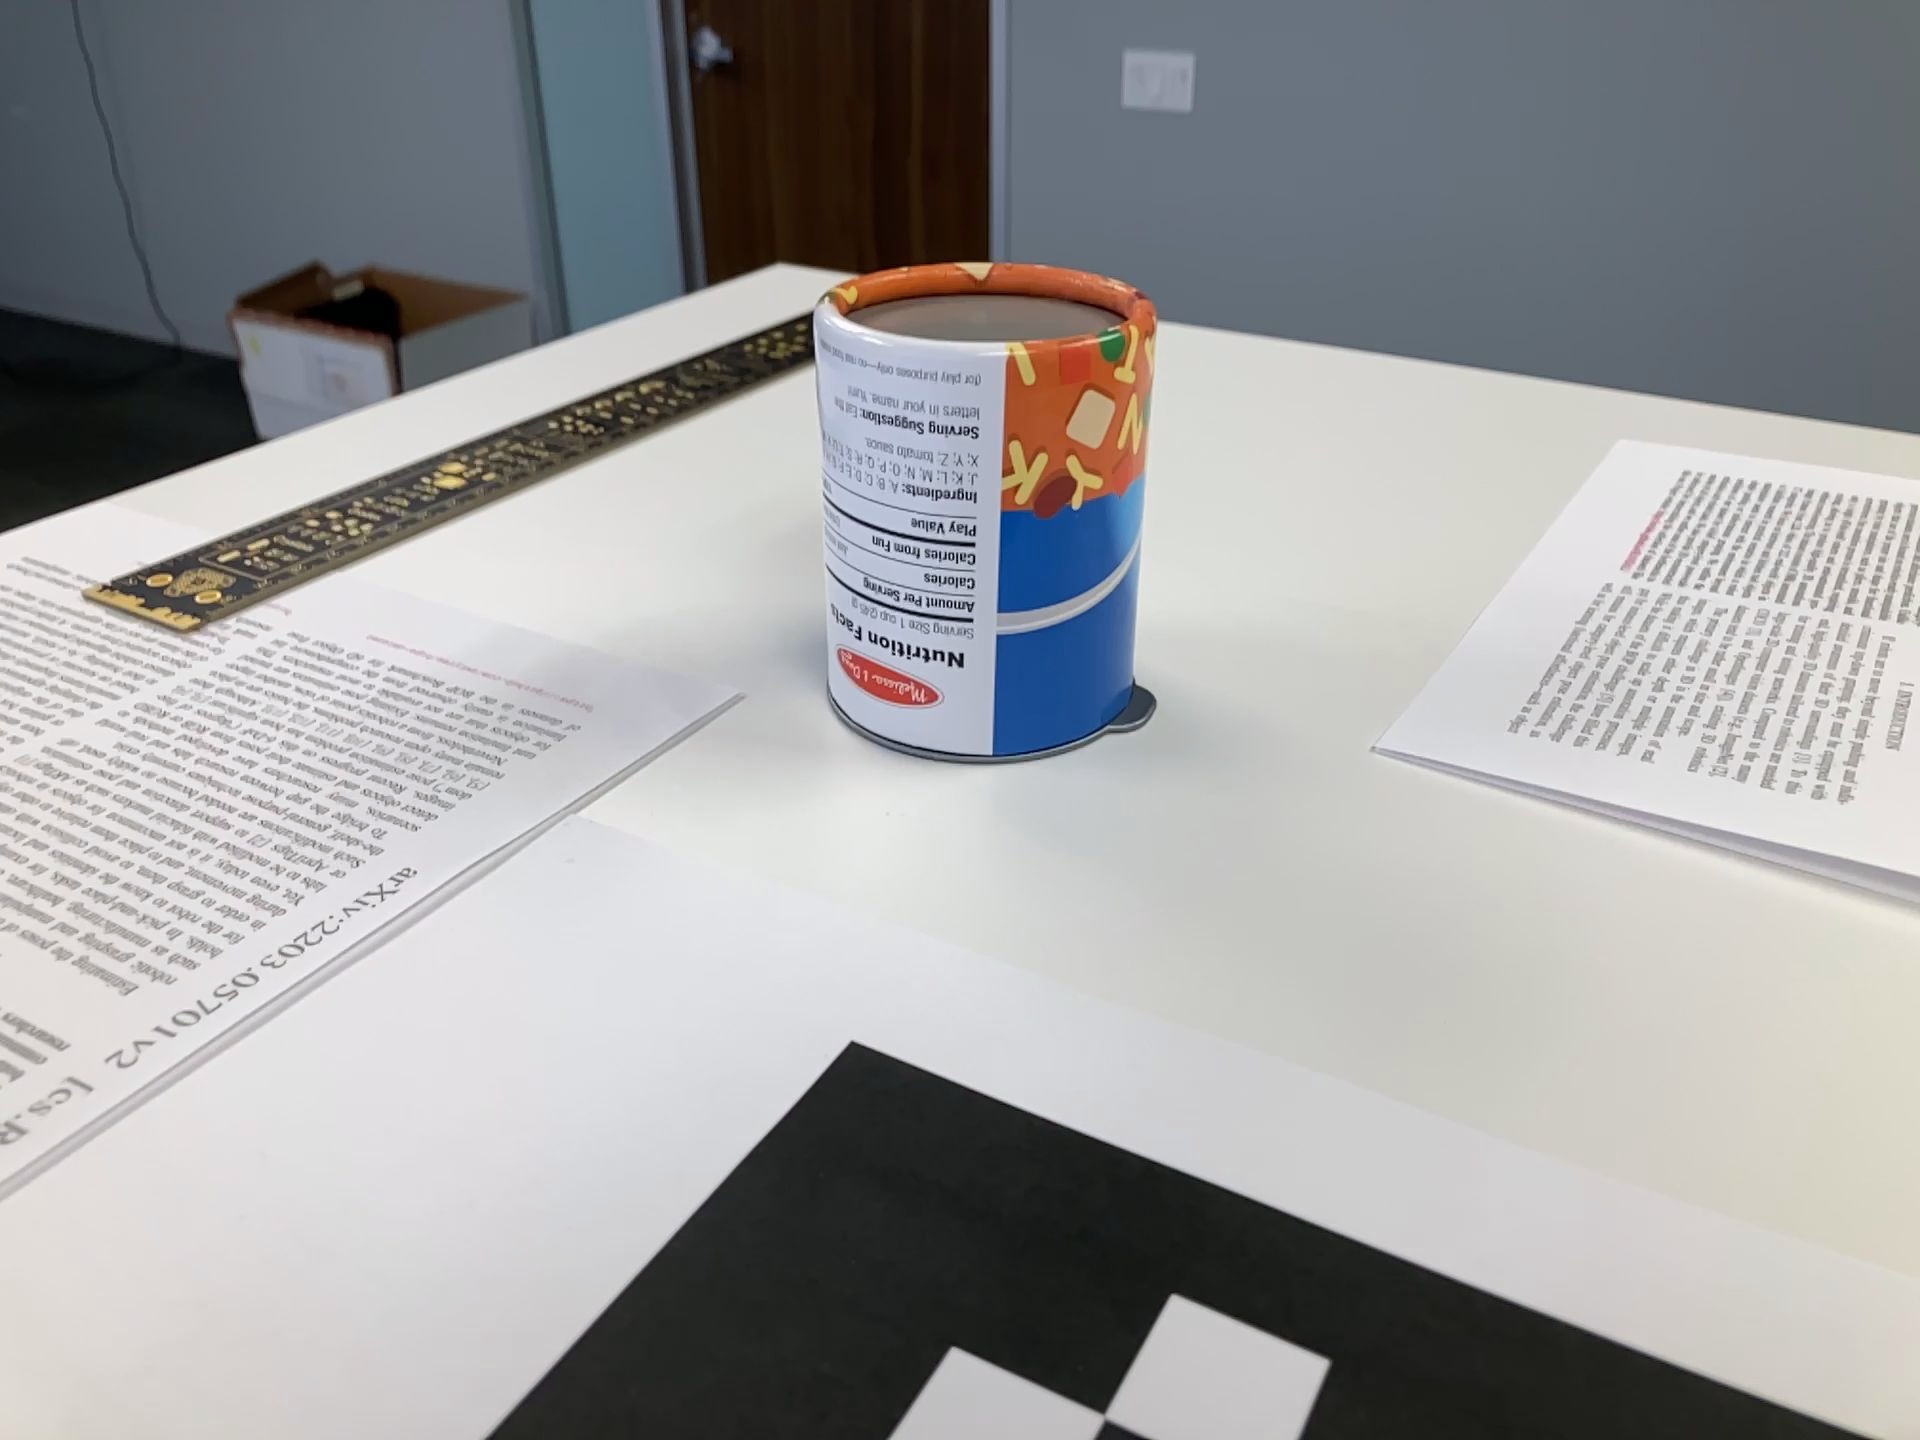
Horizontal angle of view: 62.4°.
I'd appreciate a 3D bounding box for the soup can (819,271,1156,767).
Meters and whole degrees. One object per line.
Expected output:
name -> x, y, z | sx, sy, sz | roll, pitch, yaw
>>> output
soup can -> 0.006, -0.044, 0.328 | 0.071, 0.084, 0.071 | 1, 29, 0
